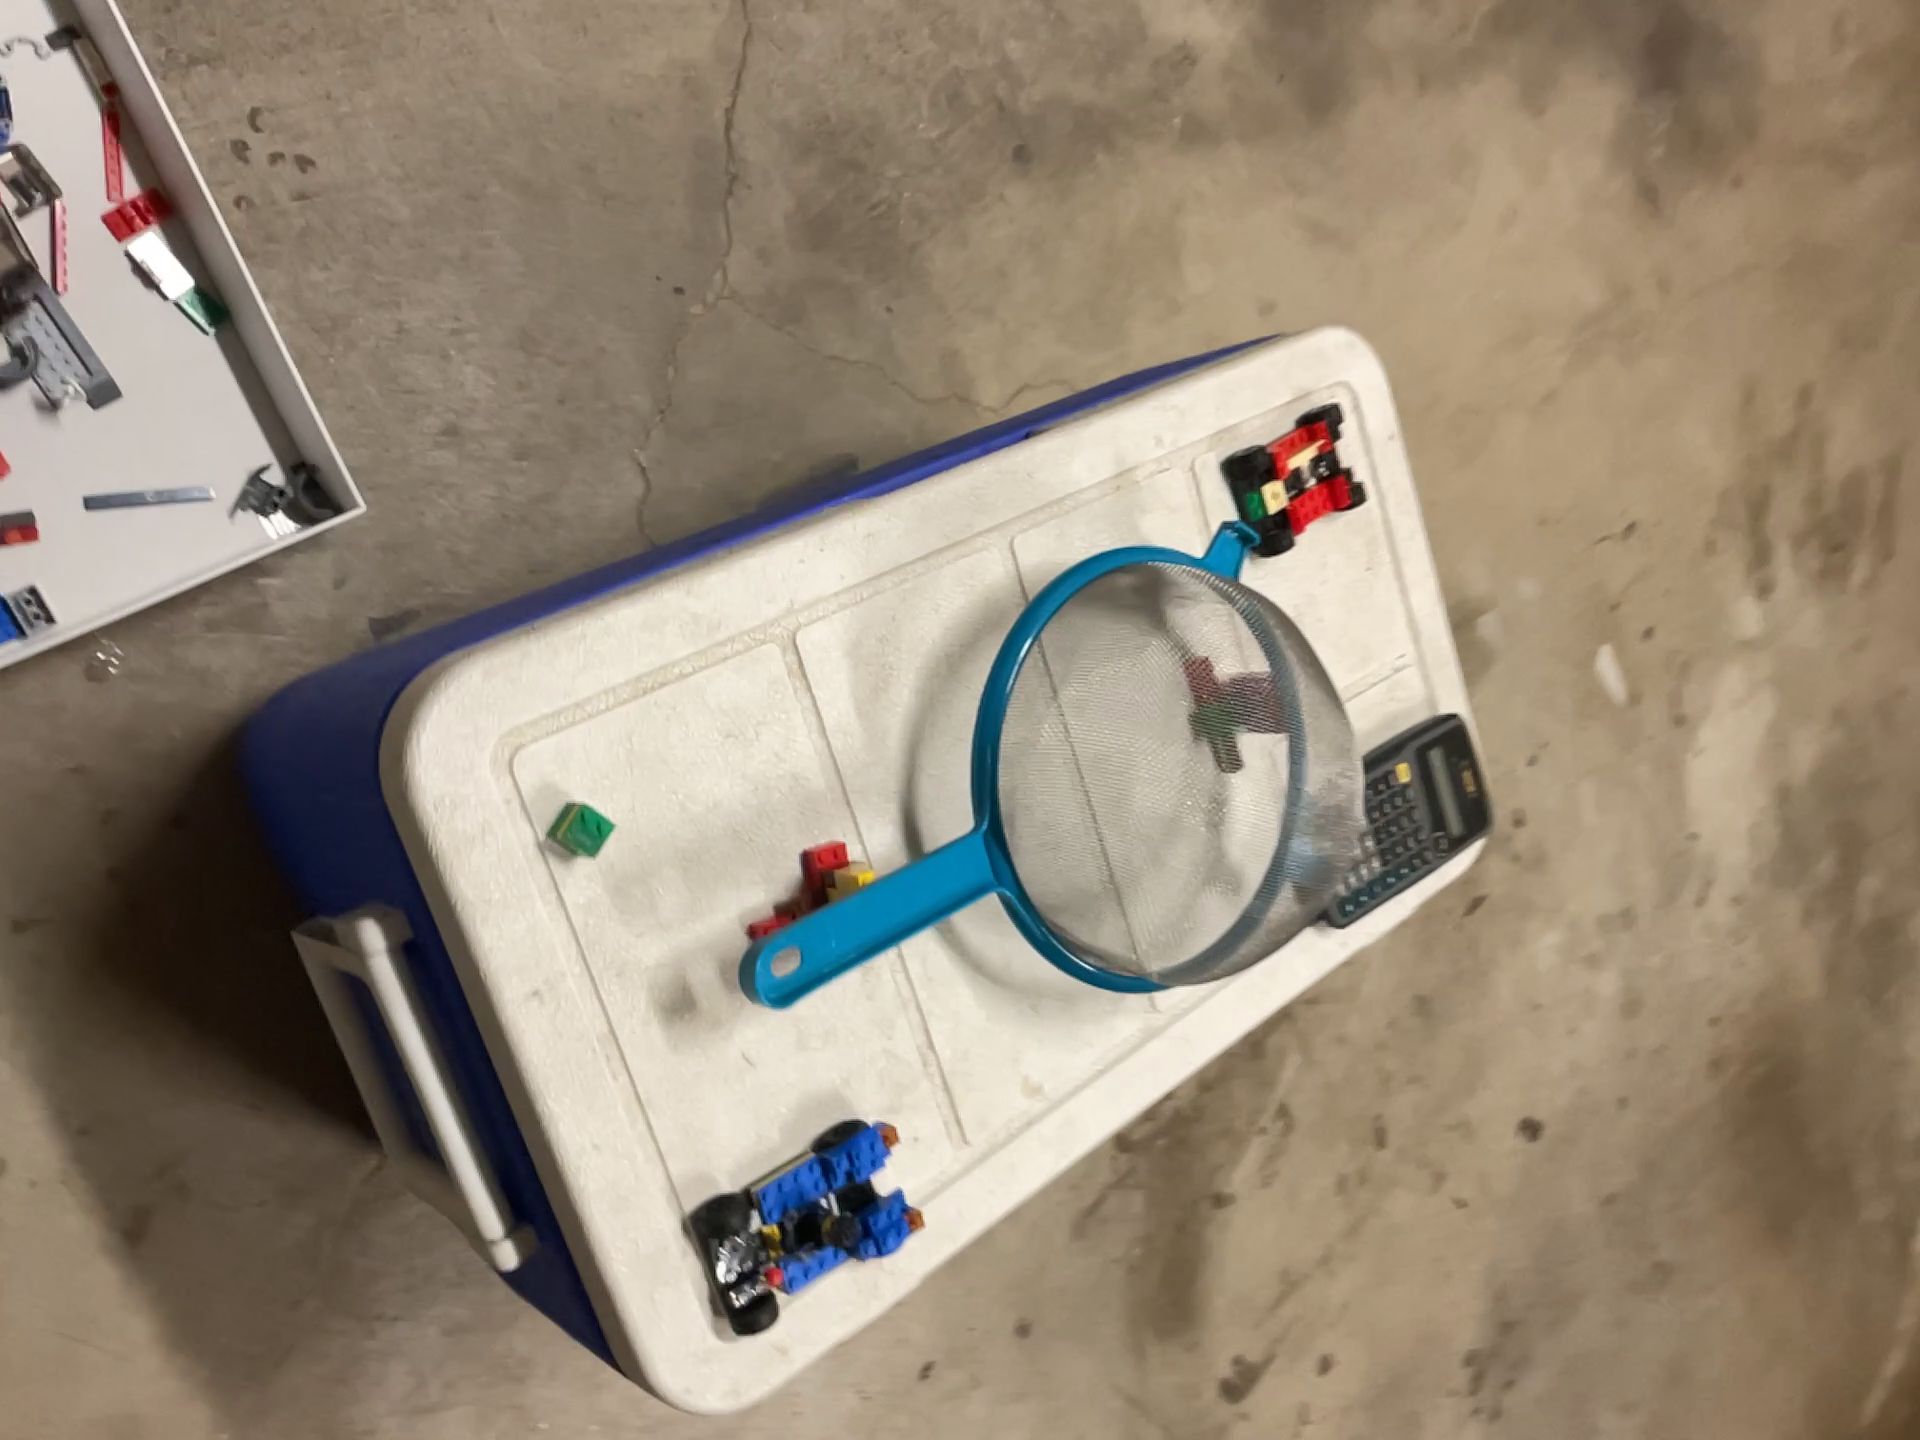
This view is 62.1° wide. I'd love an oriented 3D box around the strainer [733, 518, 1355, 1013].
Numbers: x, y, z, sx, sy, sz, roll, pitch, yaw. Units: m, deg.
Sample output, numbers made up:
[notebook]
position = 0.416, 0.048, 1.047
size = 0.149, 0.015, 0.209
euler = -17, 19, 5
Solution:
[strainer]
position = 0.064, 0.044, 0.682
size = 0.341, 0.095, 0.211
euler = -25, 104, -35
